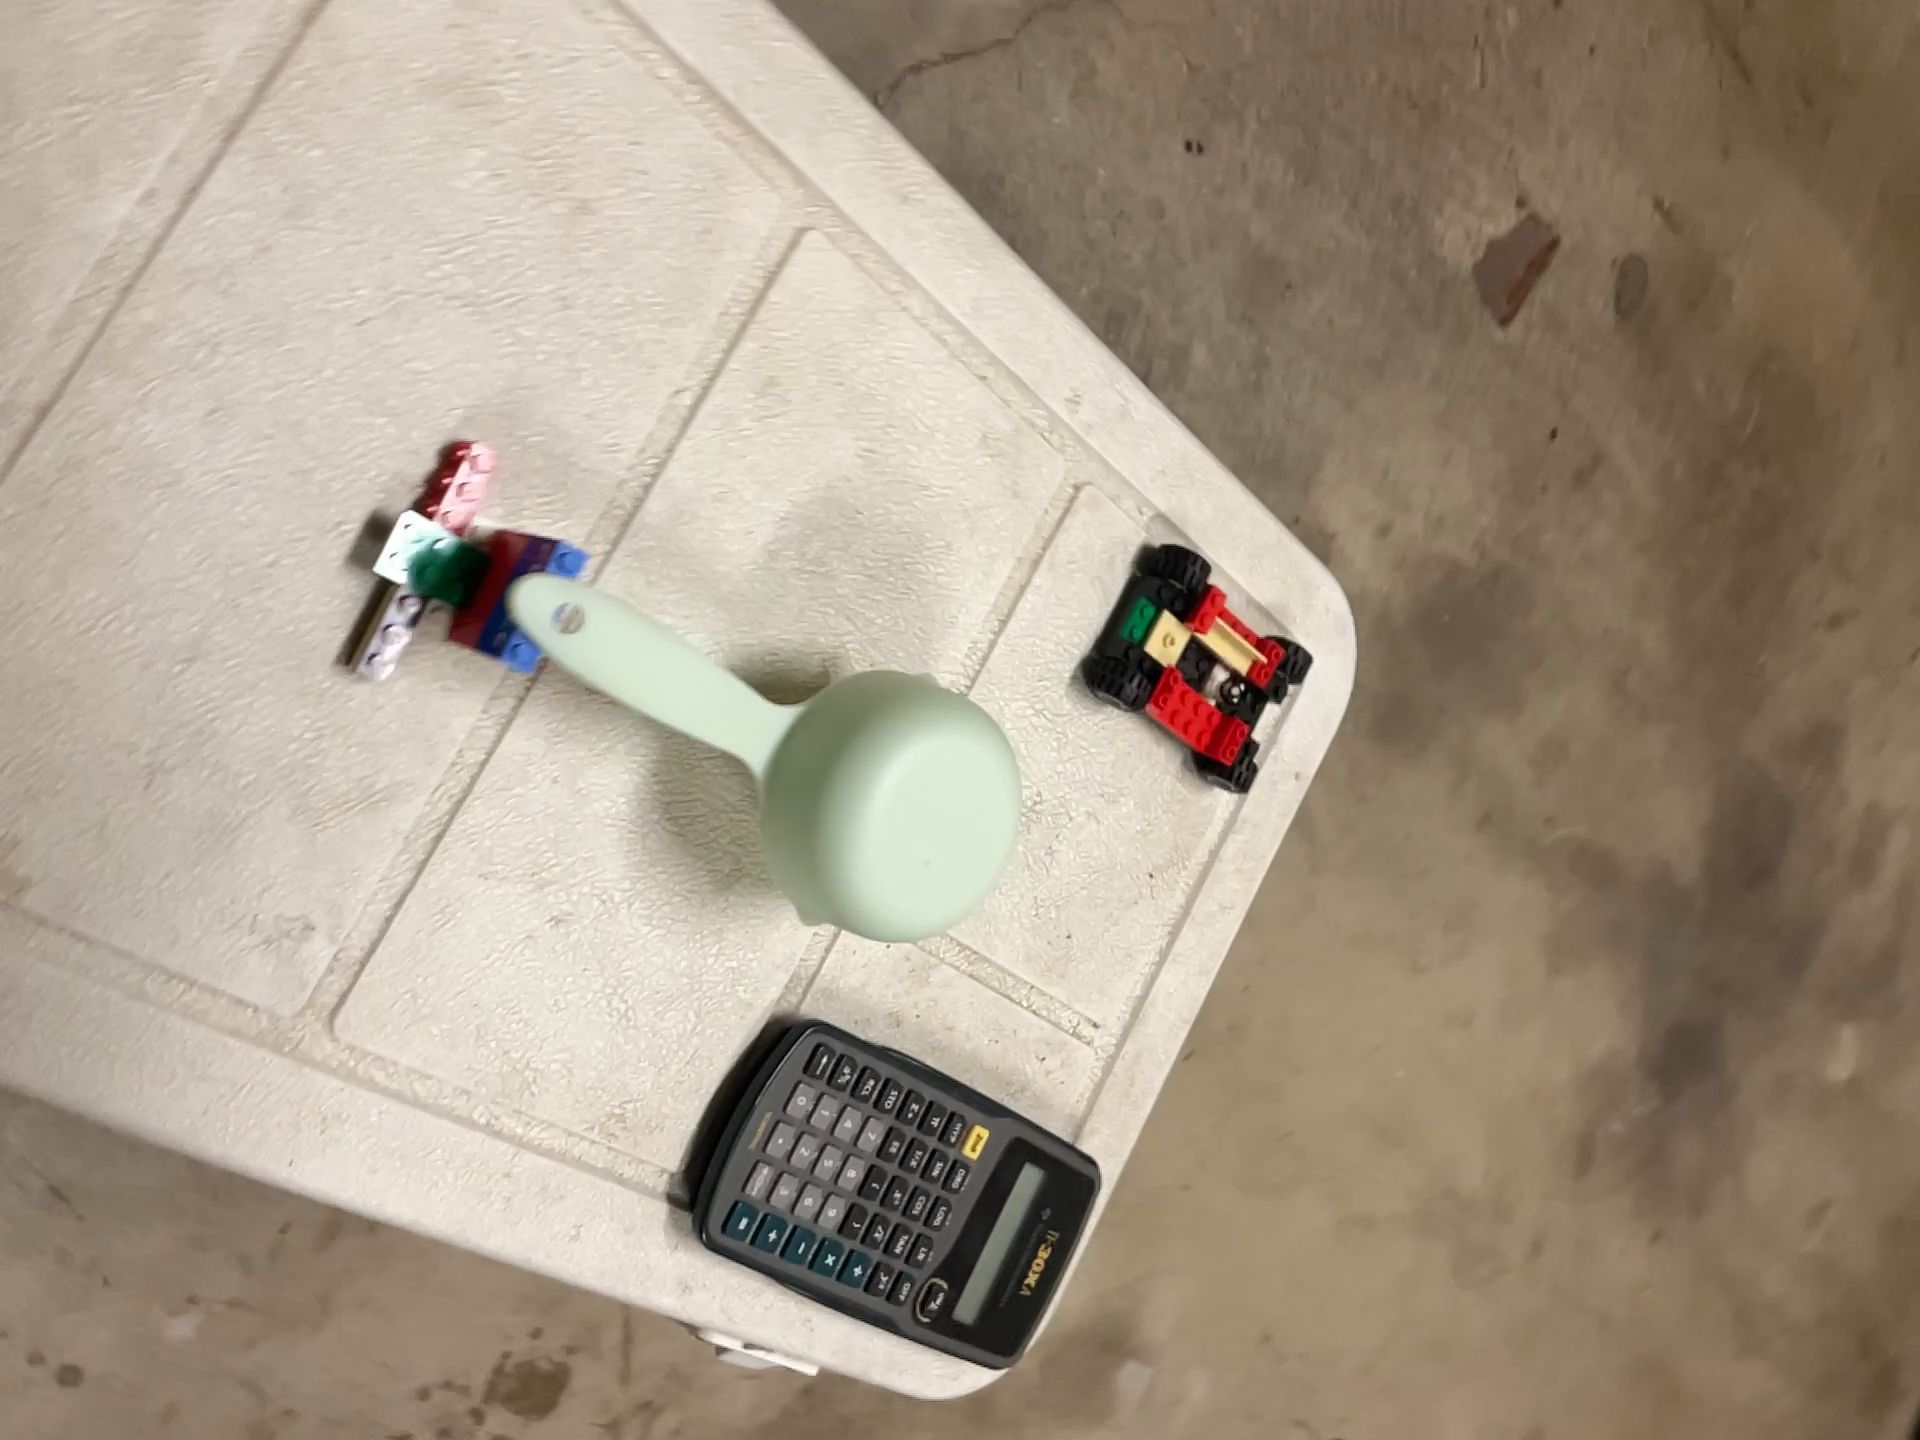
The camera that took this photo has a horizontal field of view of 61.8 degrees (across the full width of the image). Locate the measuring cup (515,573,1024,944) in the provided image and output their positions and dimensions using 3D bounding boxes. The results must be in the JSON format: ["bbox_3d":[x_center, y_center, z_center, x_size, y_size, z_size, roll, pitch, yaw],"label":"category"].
[{"bbox_3d":[-0.043,0.007,0.424,0.168,0.038,0.083,35,78,-42],"label":"measuring cup"}]
